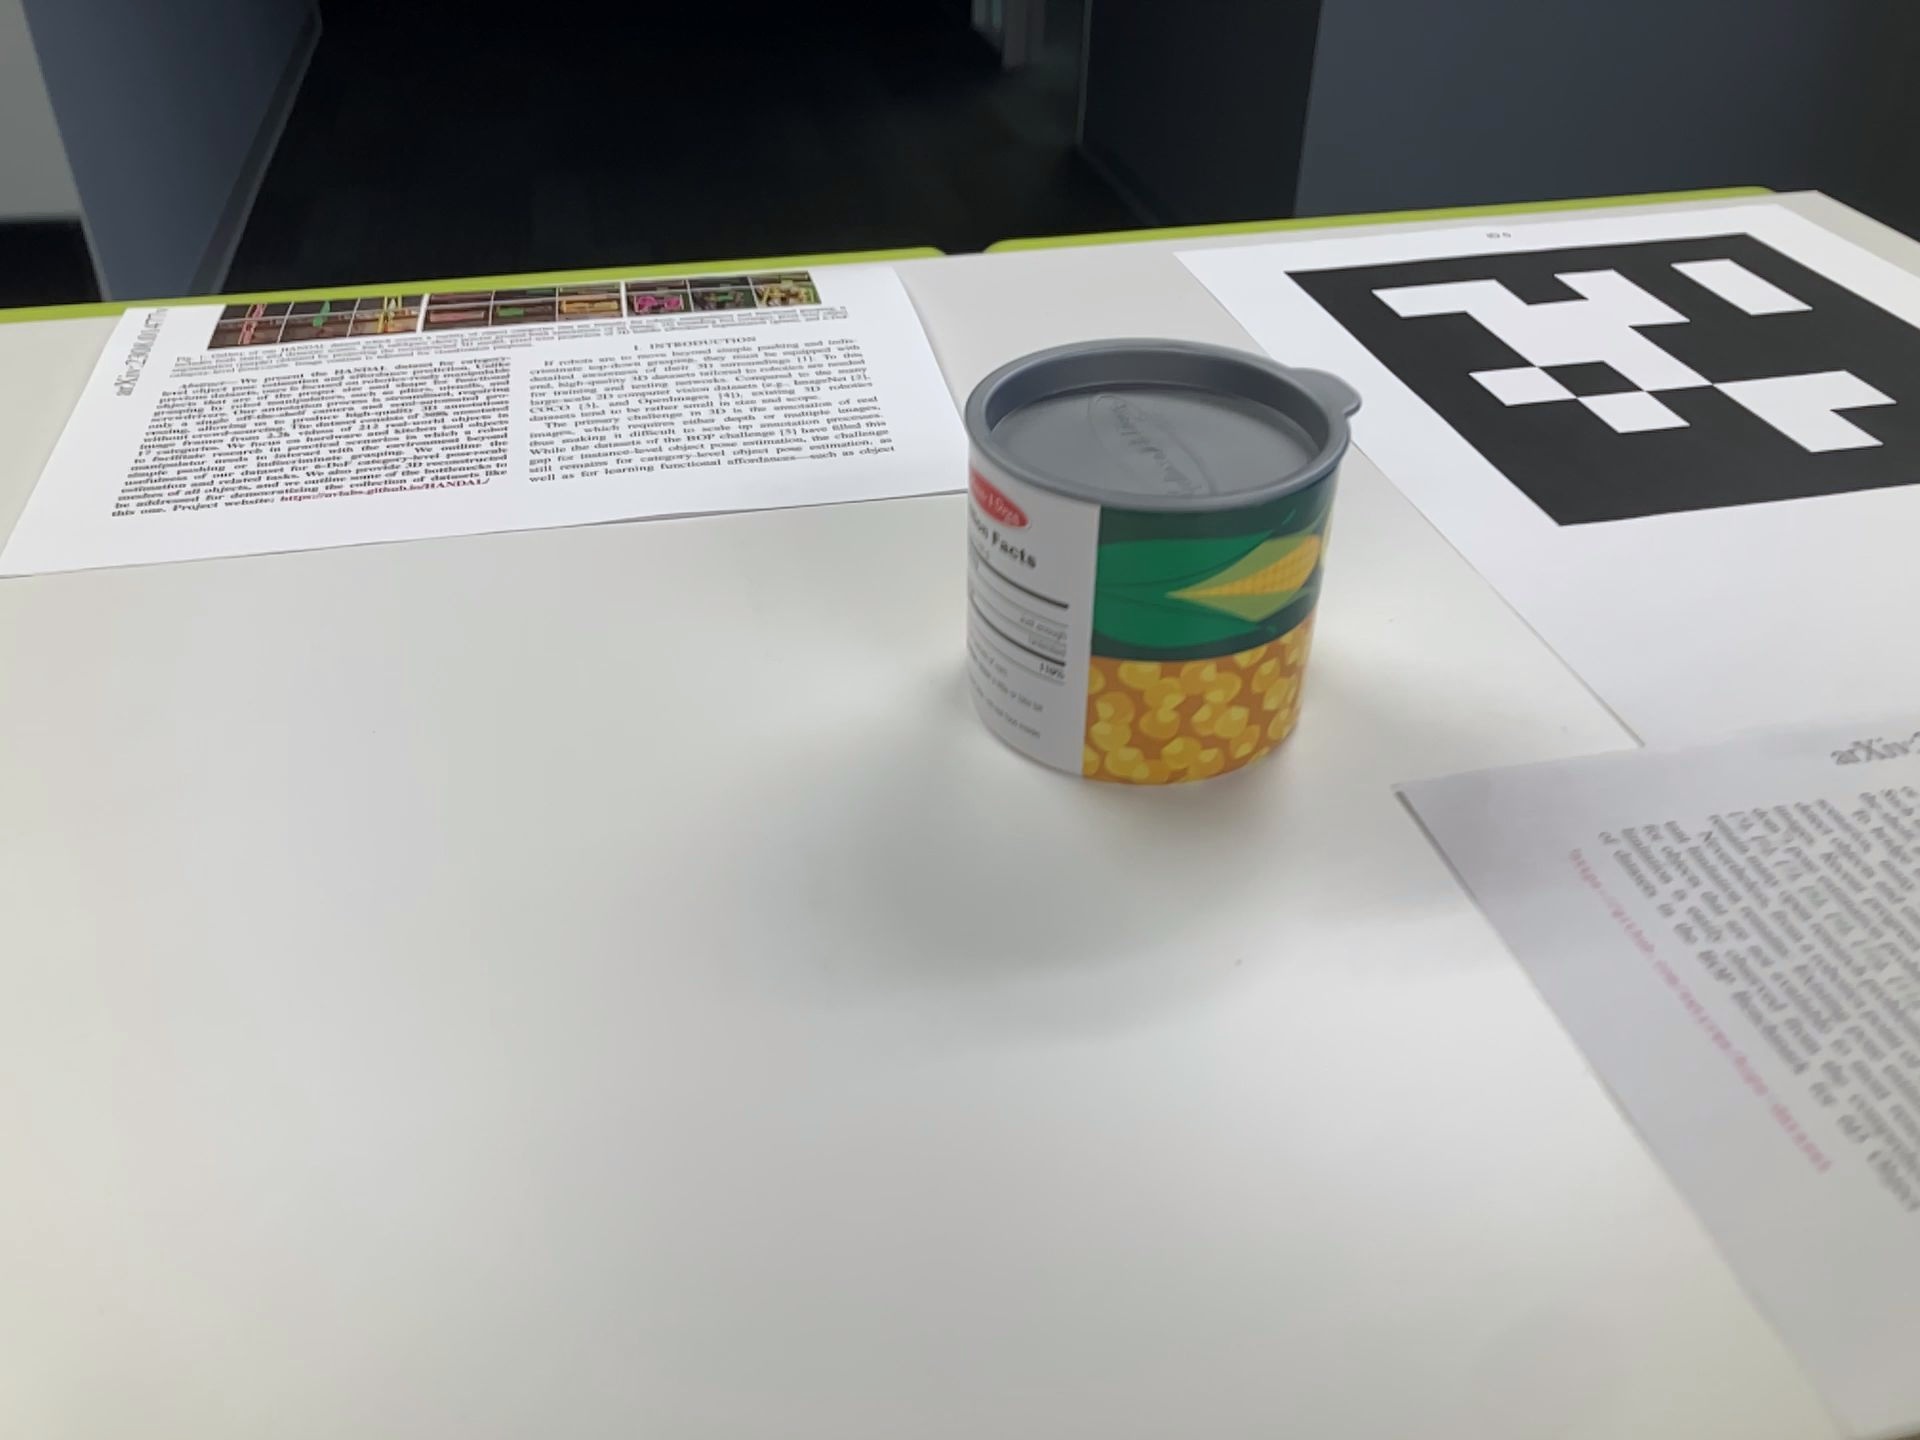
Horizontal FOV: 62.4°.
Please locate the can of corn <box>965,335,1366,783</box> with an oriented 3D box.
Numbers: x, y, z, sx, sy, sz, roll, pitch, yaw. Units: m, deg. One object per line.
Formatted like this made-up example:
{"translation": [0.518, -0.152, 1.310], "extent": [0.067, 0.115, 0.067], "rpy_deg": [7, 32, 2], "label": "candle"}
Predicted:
{"translation": [0.036, -0.031, 0.291], "extent": [0.071, 0.058, 0.071], "rpy_deg": [0, 35, 0], "label": "can of corn"}
